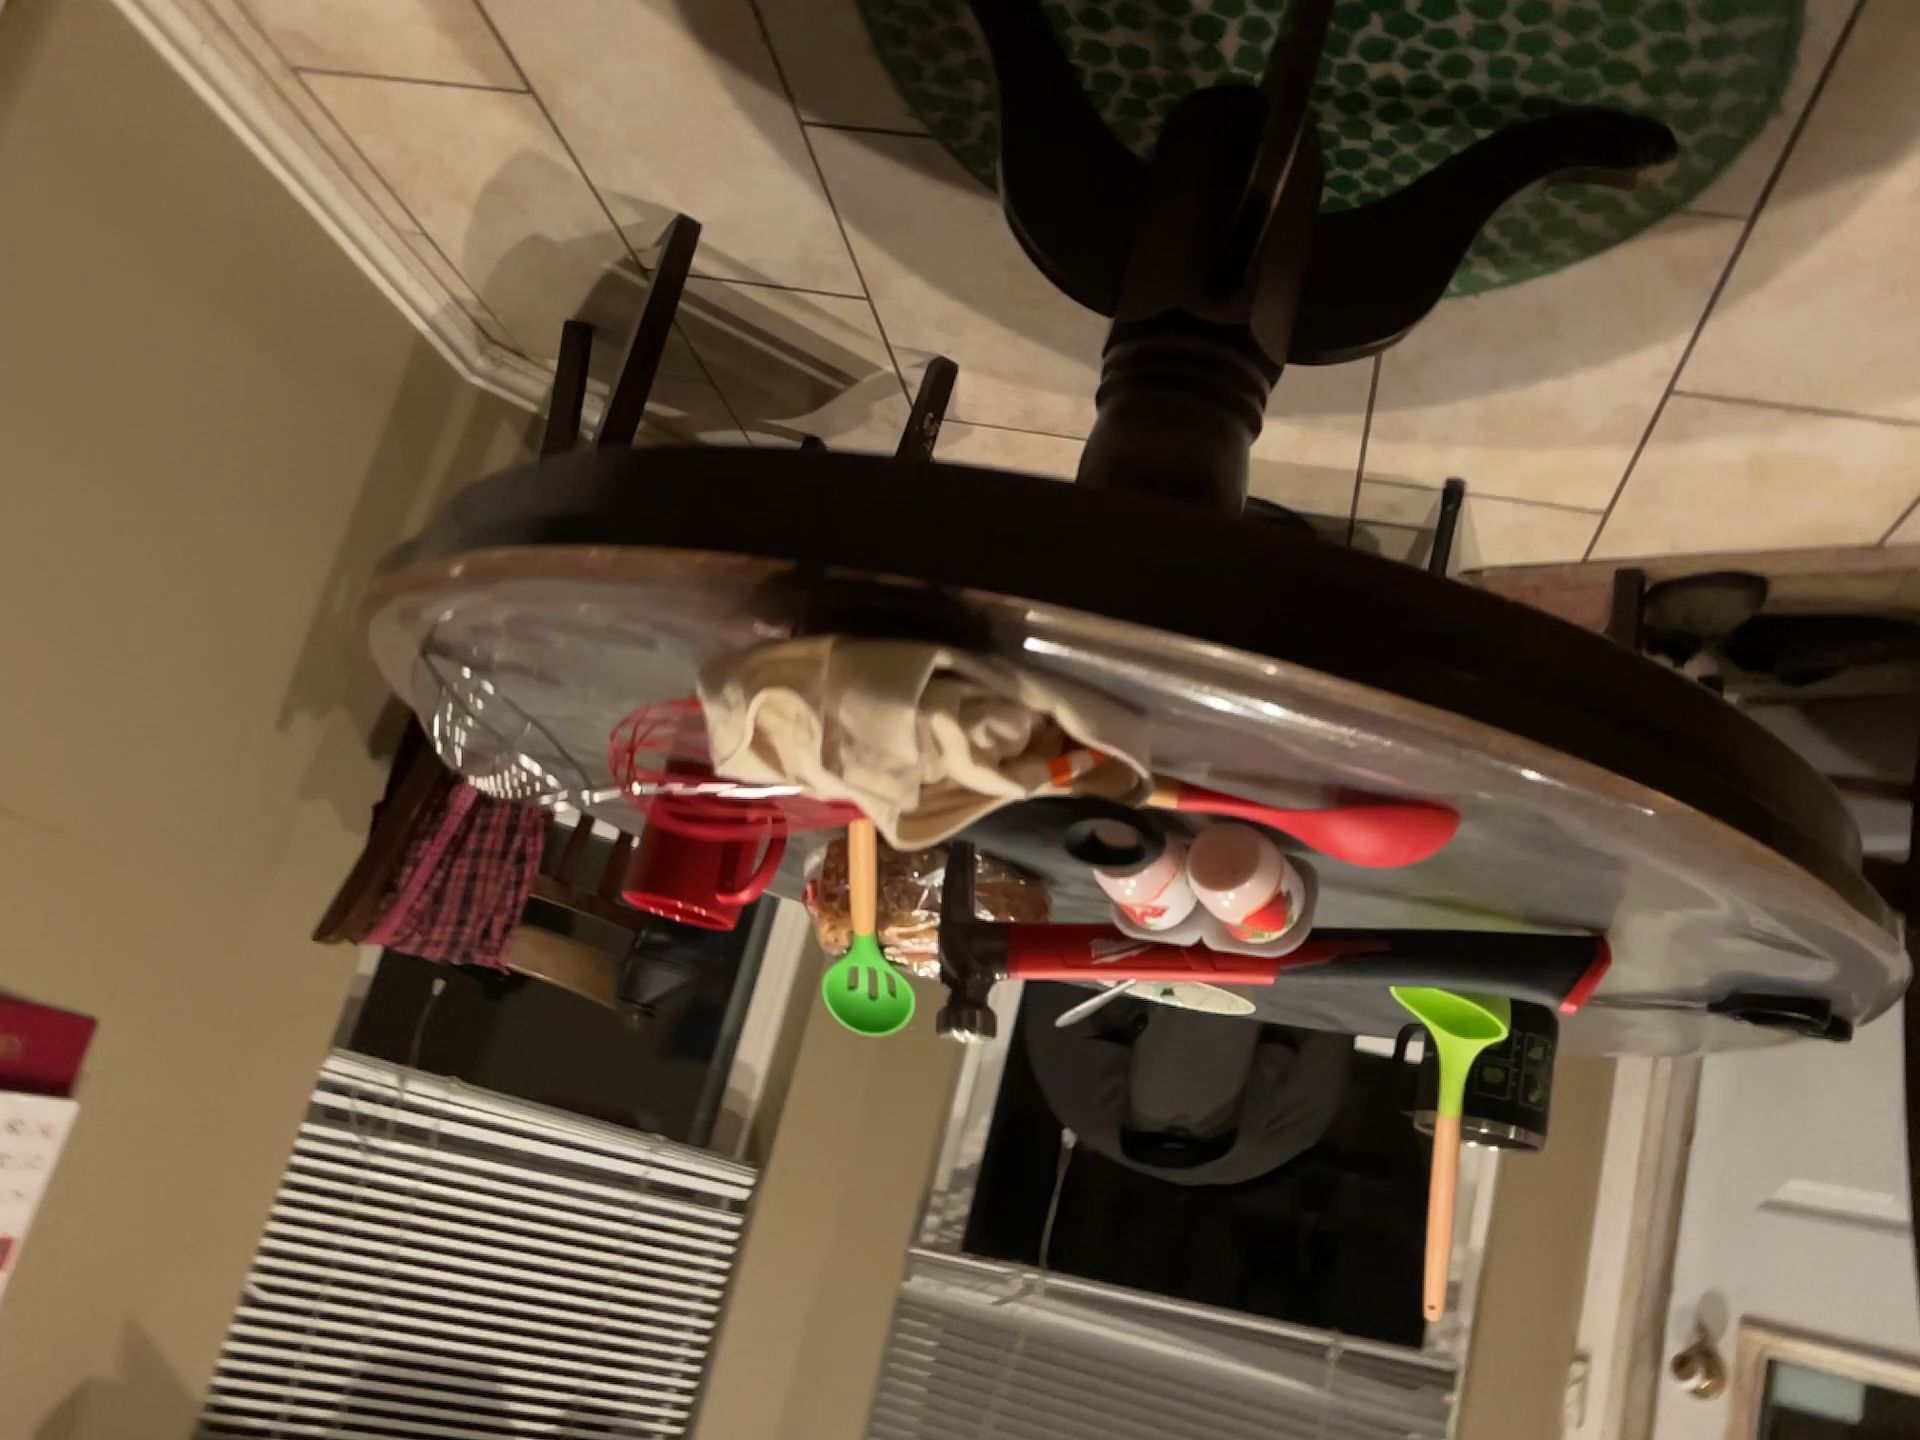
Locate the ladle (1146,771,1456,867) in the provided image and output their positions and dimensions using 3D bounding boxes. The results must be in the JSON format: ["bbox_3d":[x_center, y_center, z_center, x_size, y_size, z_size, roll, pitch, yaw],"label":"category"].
[{"bbox_3d":[0.086,0.030,0.799,0.315,0.031,0.069,12,164,17],"label":"ladle"}]

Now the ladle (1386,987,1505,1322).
[{"bbox_3d":[0.326,0.296,1.085,0.078,0.320,0.062,16,-149,37],"label":"ladle"}]

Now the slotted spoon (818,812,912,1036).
[{"bbox_3d":[-0.064,0.125,1.069,0.070,0.031,0.313,9,141,5],"label":"slotted spoon"}]

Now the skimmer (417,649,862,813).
[{"bbox_3d":[-0.136,0.009,0.919,0.363,0.090,0.127,2,170,7],"label":"skimmer"}]

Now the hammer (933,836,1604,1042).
[{"bbox_3d":[0.176,0.123,0.947,0.386,0.143,0.038,-1,162,12],"label":"hammer"}]

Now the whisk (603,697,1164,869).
[{"bbox_3d":[-0.047,0.035,0.754,0.296,0.073,0.073,8,161,22],"label":"whisk"}]
